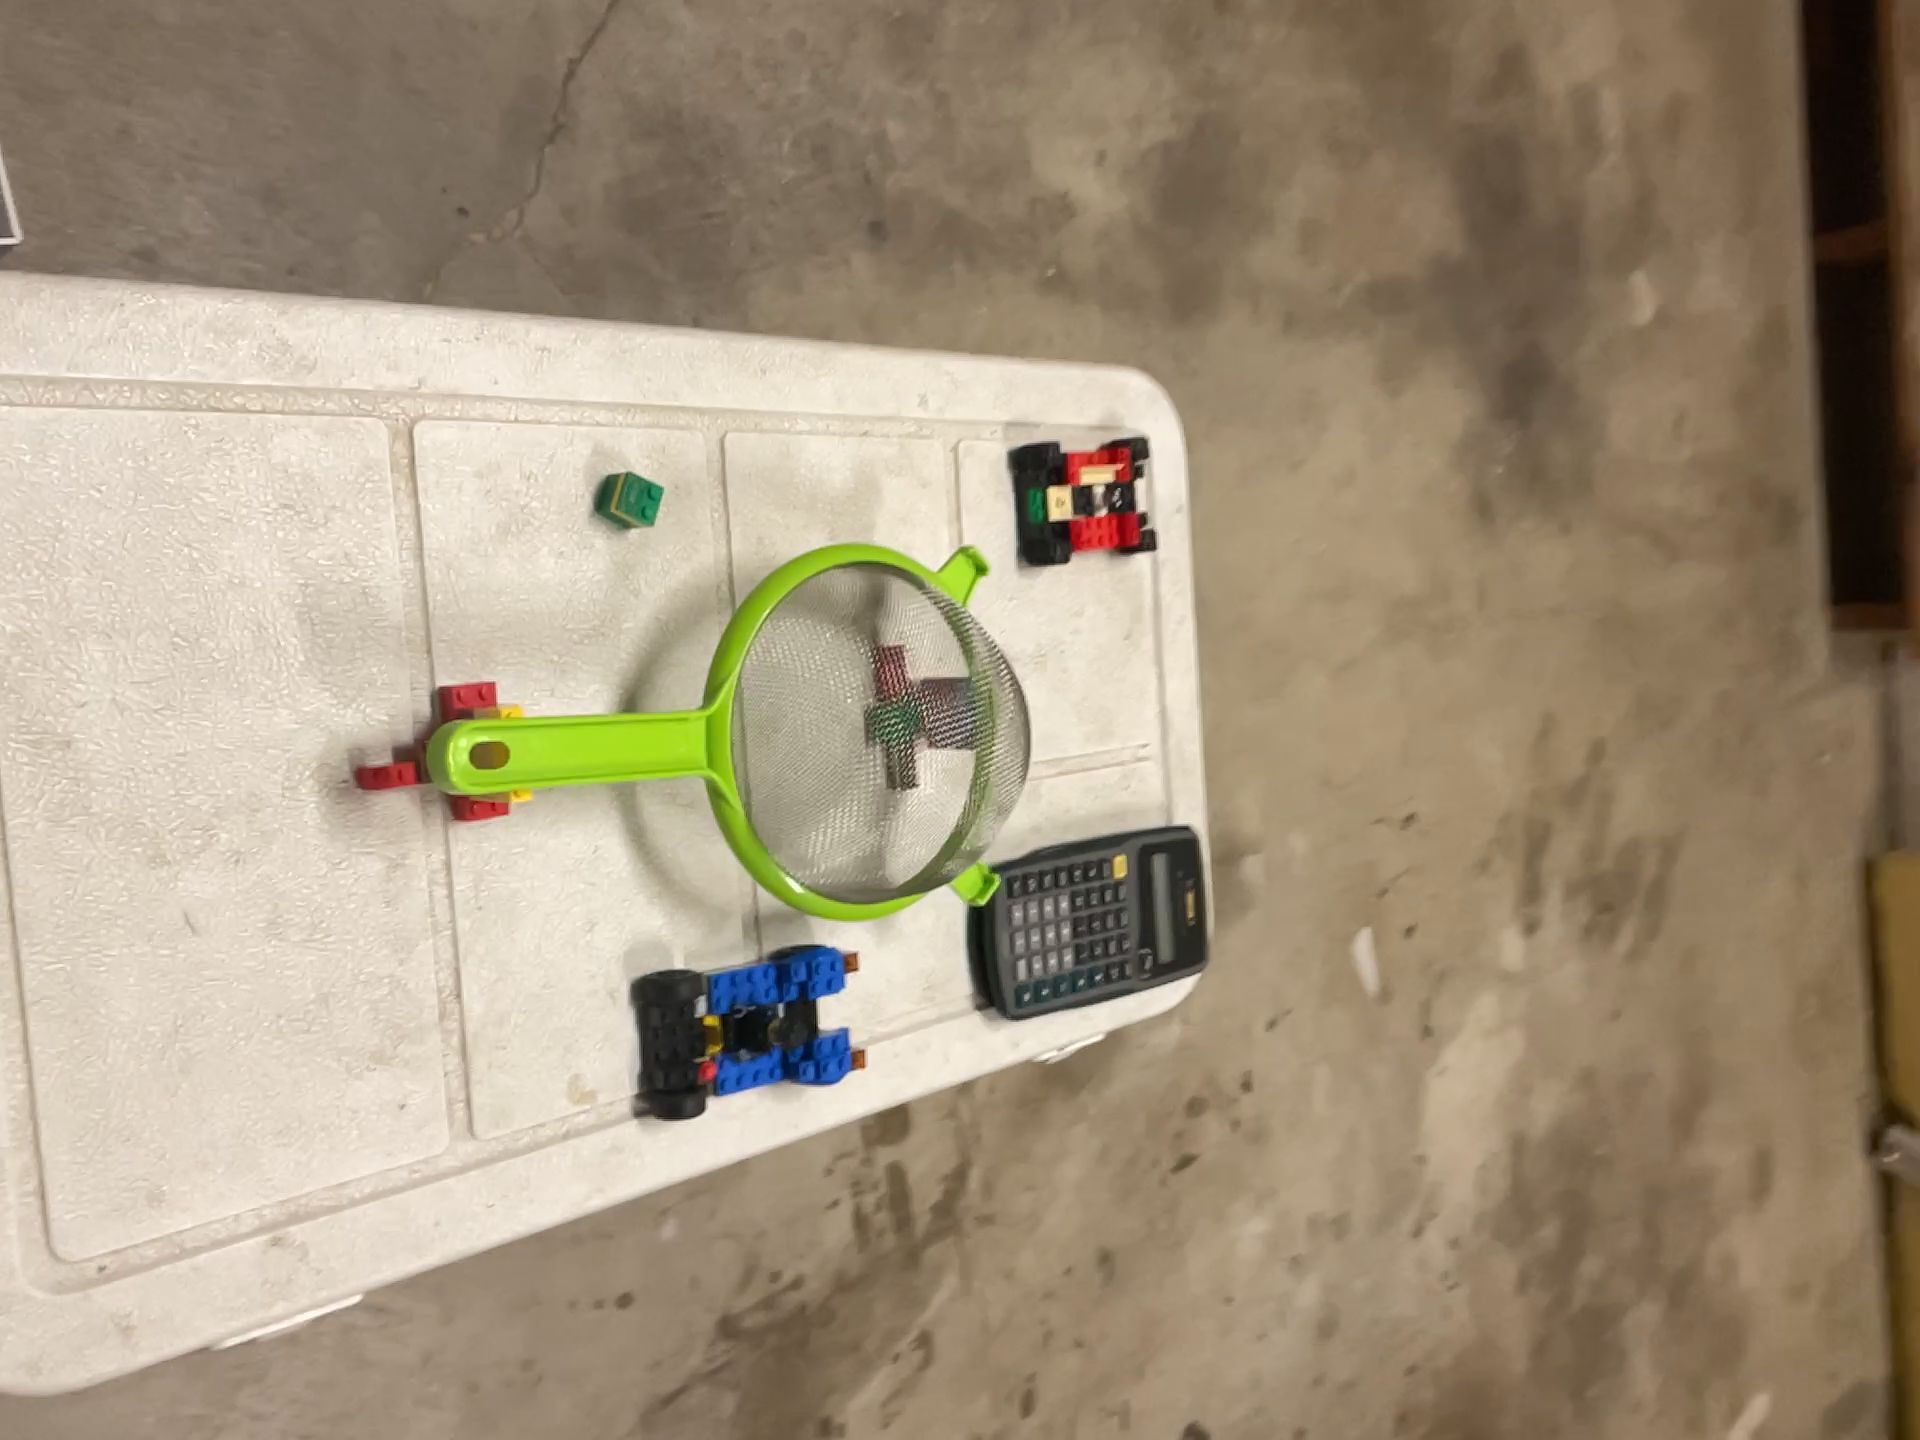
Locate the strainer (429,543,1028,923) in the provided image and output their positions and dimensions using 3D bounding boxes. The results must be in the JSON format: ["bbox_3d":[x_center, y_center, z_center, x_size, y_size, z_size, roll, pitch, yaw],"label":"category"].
[{"bbox_3d":[-0.059,0.008,0.582,0.256,0.069,0.151,-4,94,-45],"label":"strainer"}]
